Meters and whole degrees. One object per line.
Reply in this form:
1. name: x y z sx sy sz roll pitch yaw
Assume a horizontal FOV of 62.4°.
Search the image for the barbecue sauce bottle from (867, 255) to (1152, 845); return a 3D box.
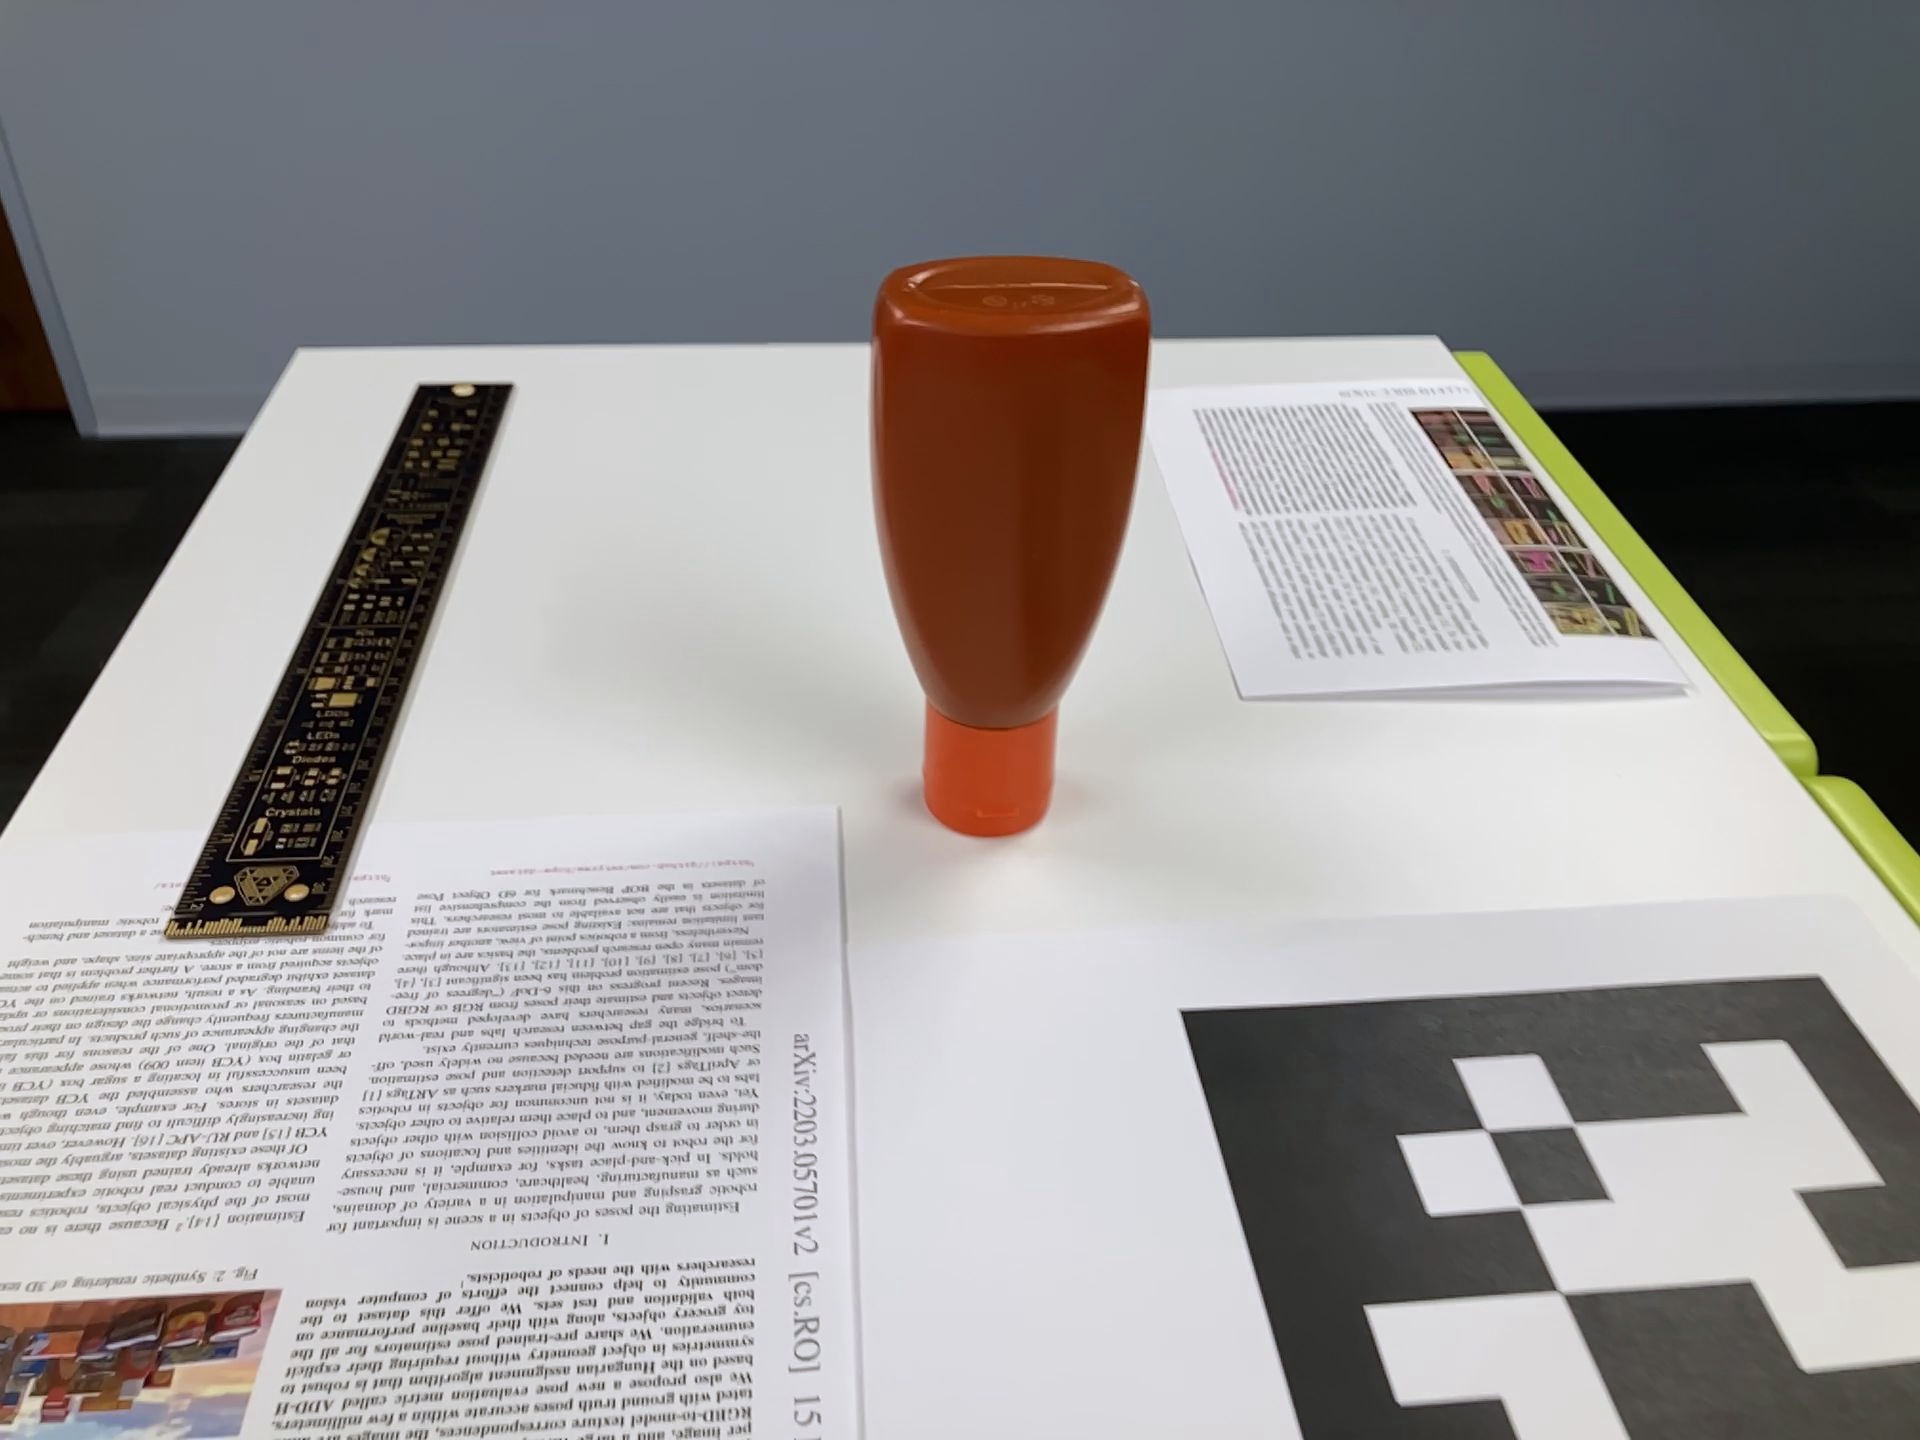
1. barbecue sauce bottle: 0.010 -0.036 0.394 0.065 0.148 0.043 -3 36 -7
